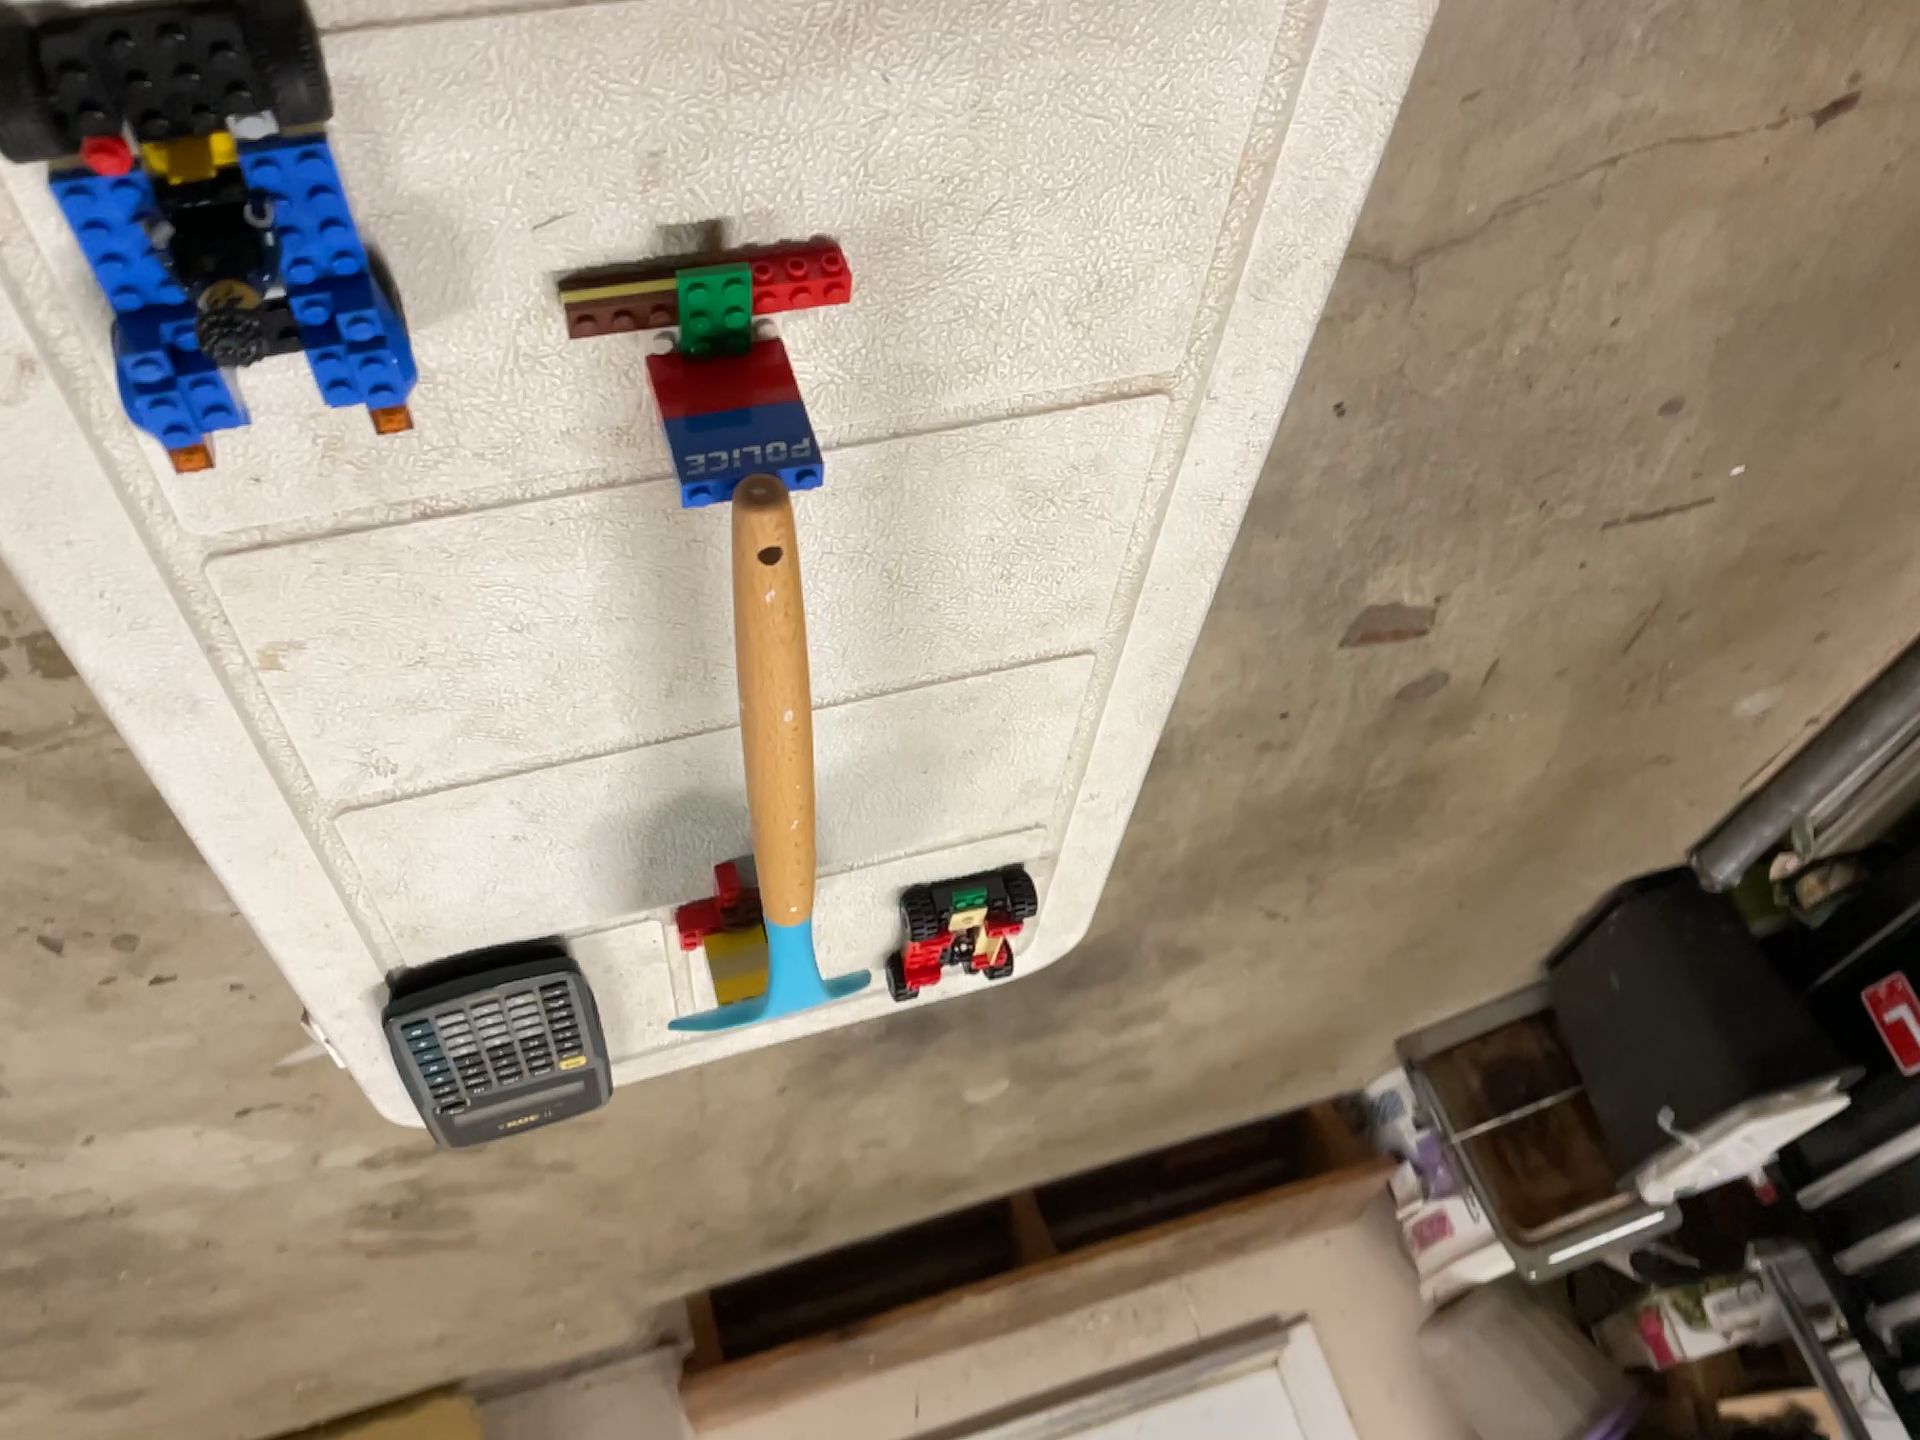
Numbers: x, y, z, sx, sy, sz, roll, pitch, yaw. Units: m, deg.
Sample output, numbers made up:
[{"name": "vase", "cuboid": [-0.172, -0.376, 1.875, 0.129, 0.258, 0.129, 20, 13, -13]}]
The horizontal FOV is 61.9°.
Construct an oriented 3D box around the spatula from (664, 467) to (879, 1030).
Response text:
[{"name": "spatula", "cuboid": [-0.055, 0.033, 0.474, 0.082, 0.044, 0.317, -12, 147, -13]}]
